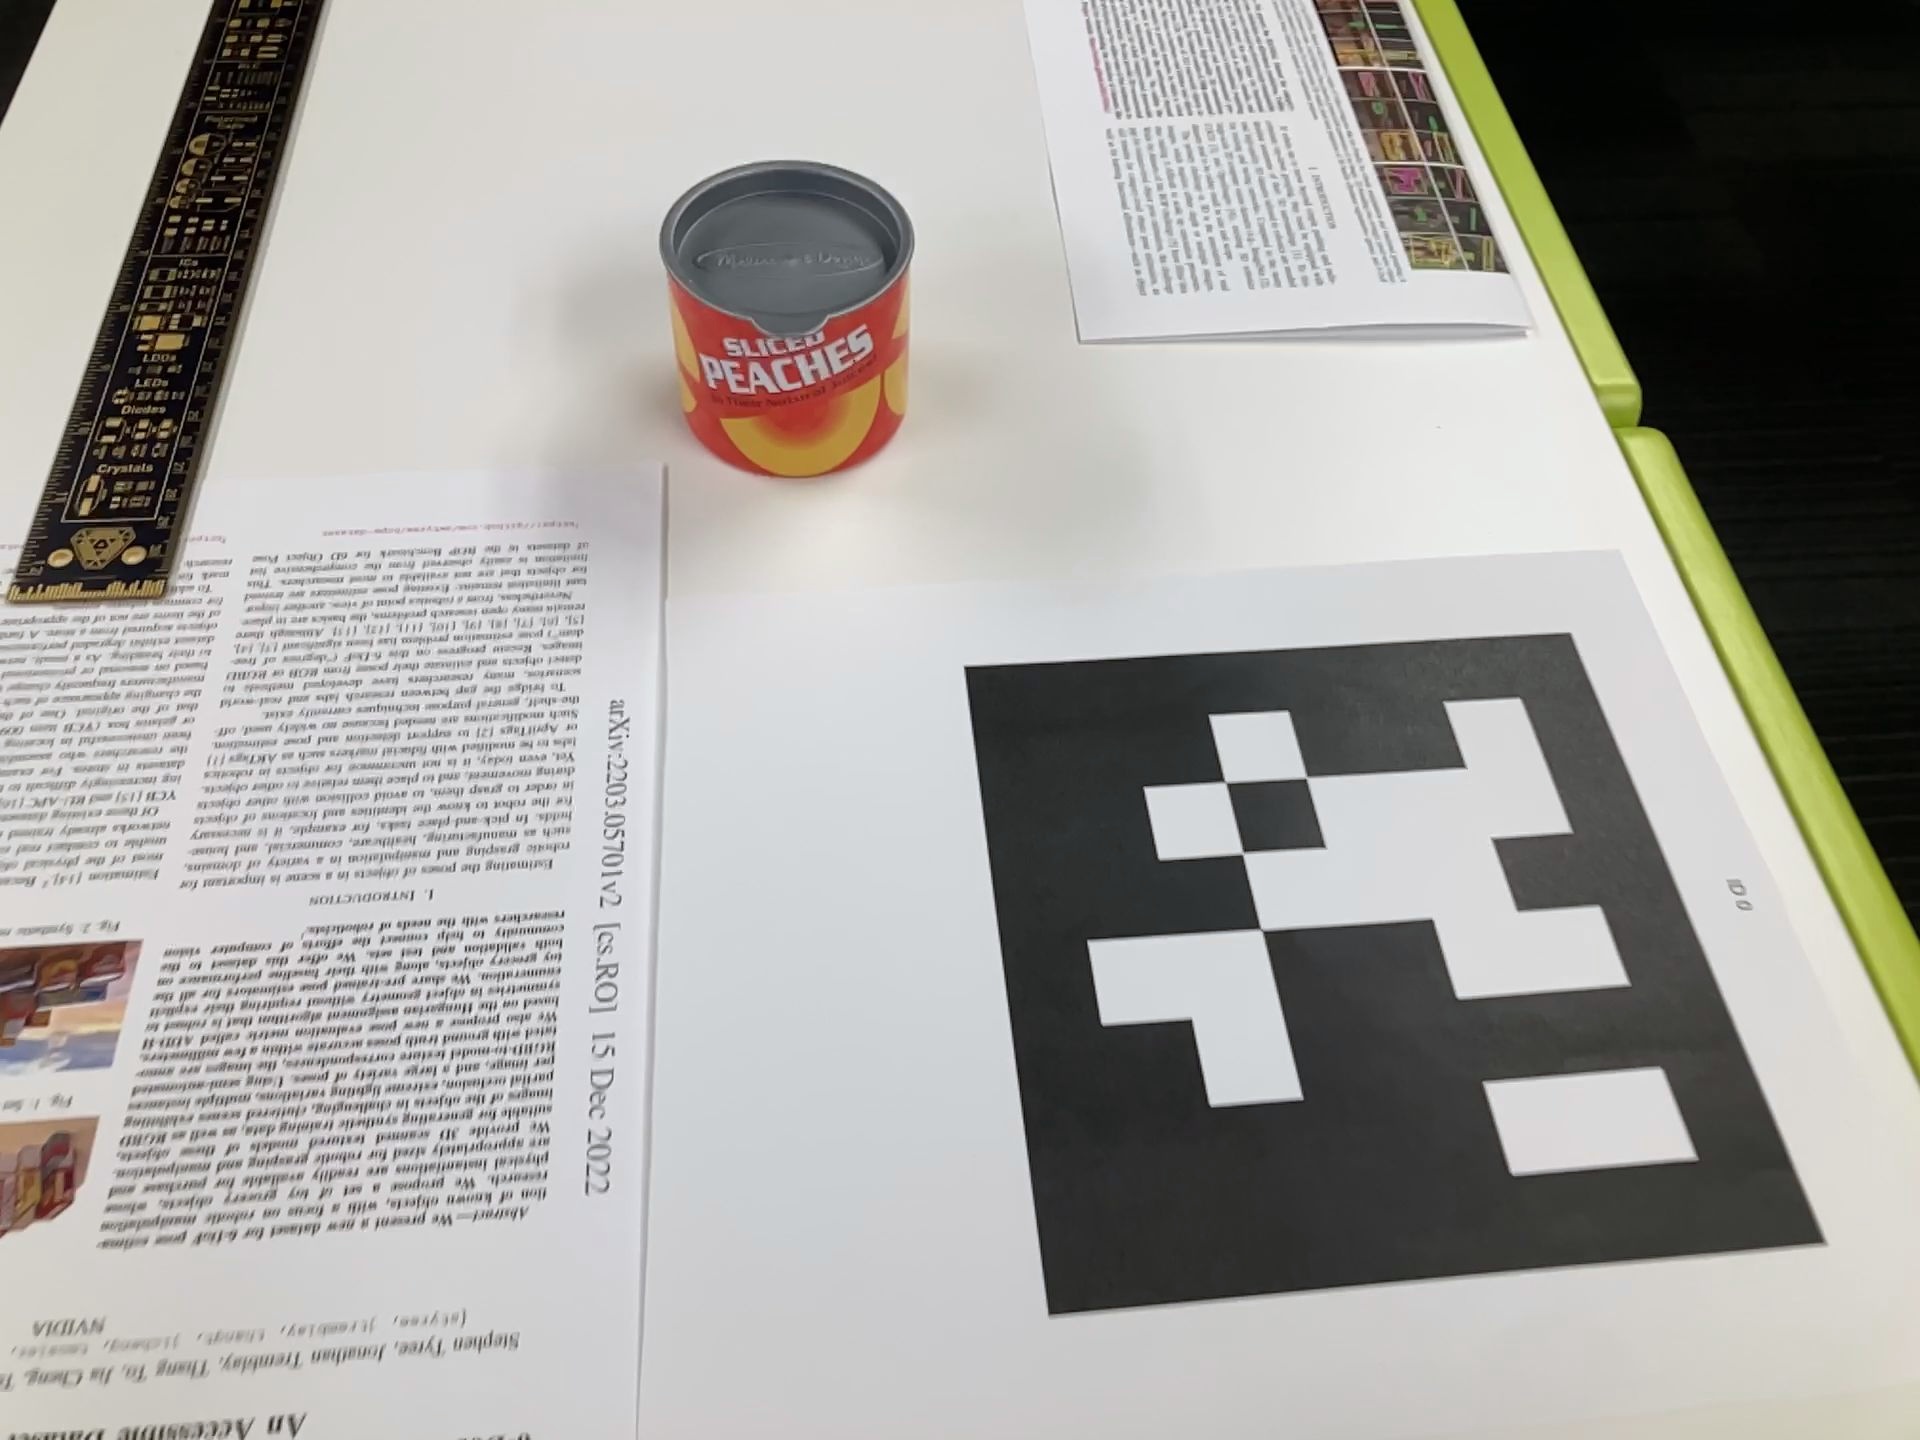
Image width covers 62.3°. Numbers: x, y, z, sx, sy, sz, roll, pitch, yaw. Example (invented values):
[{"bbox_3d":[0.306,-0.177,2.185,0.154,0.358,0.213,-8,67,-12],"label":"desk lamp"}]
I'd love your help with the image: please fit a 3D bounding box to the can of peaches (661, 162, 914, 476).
[{"bbox_3d":[-0.047,-0.109,0.439,0.071,0.058,0.071,2,54,-2],"label":"can of peaches"}]
